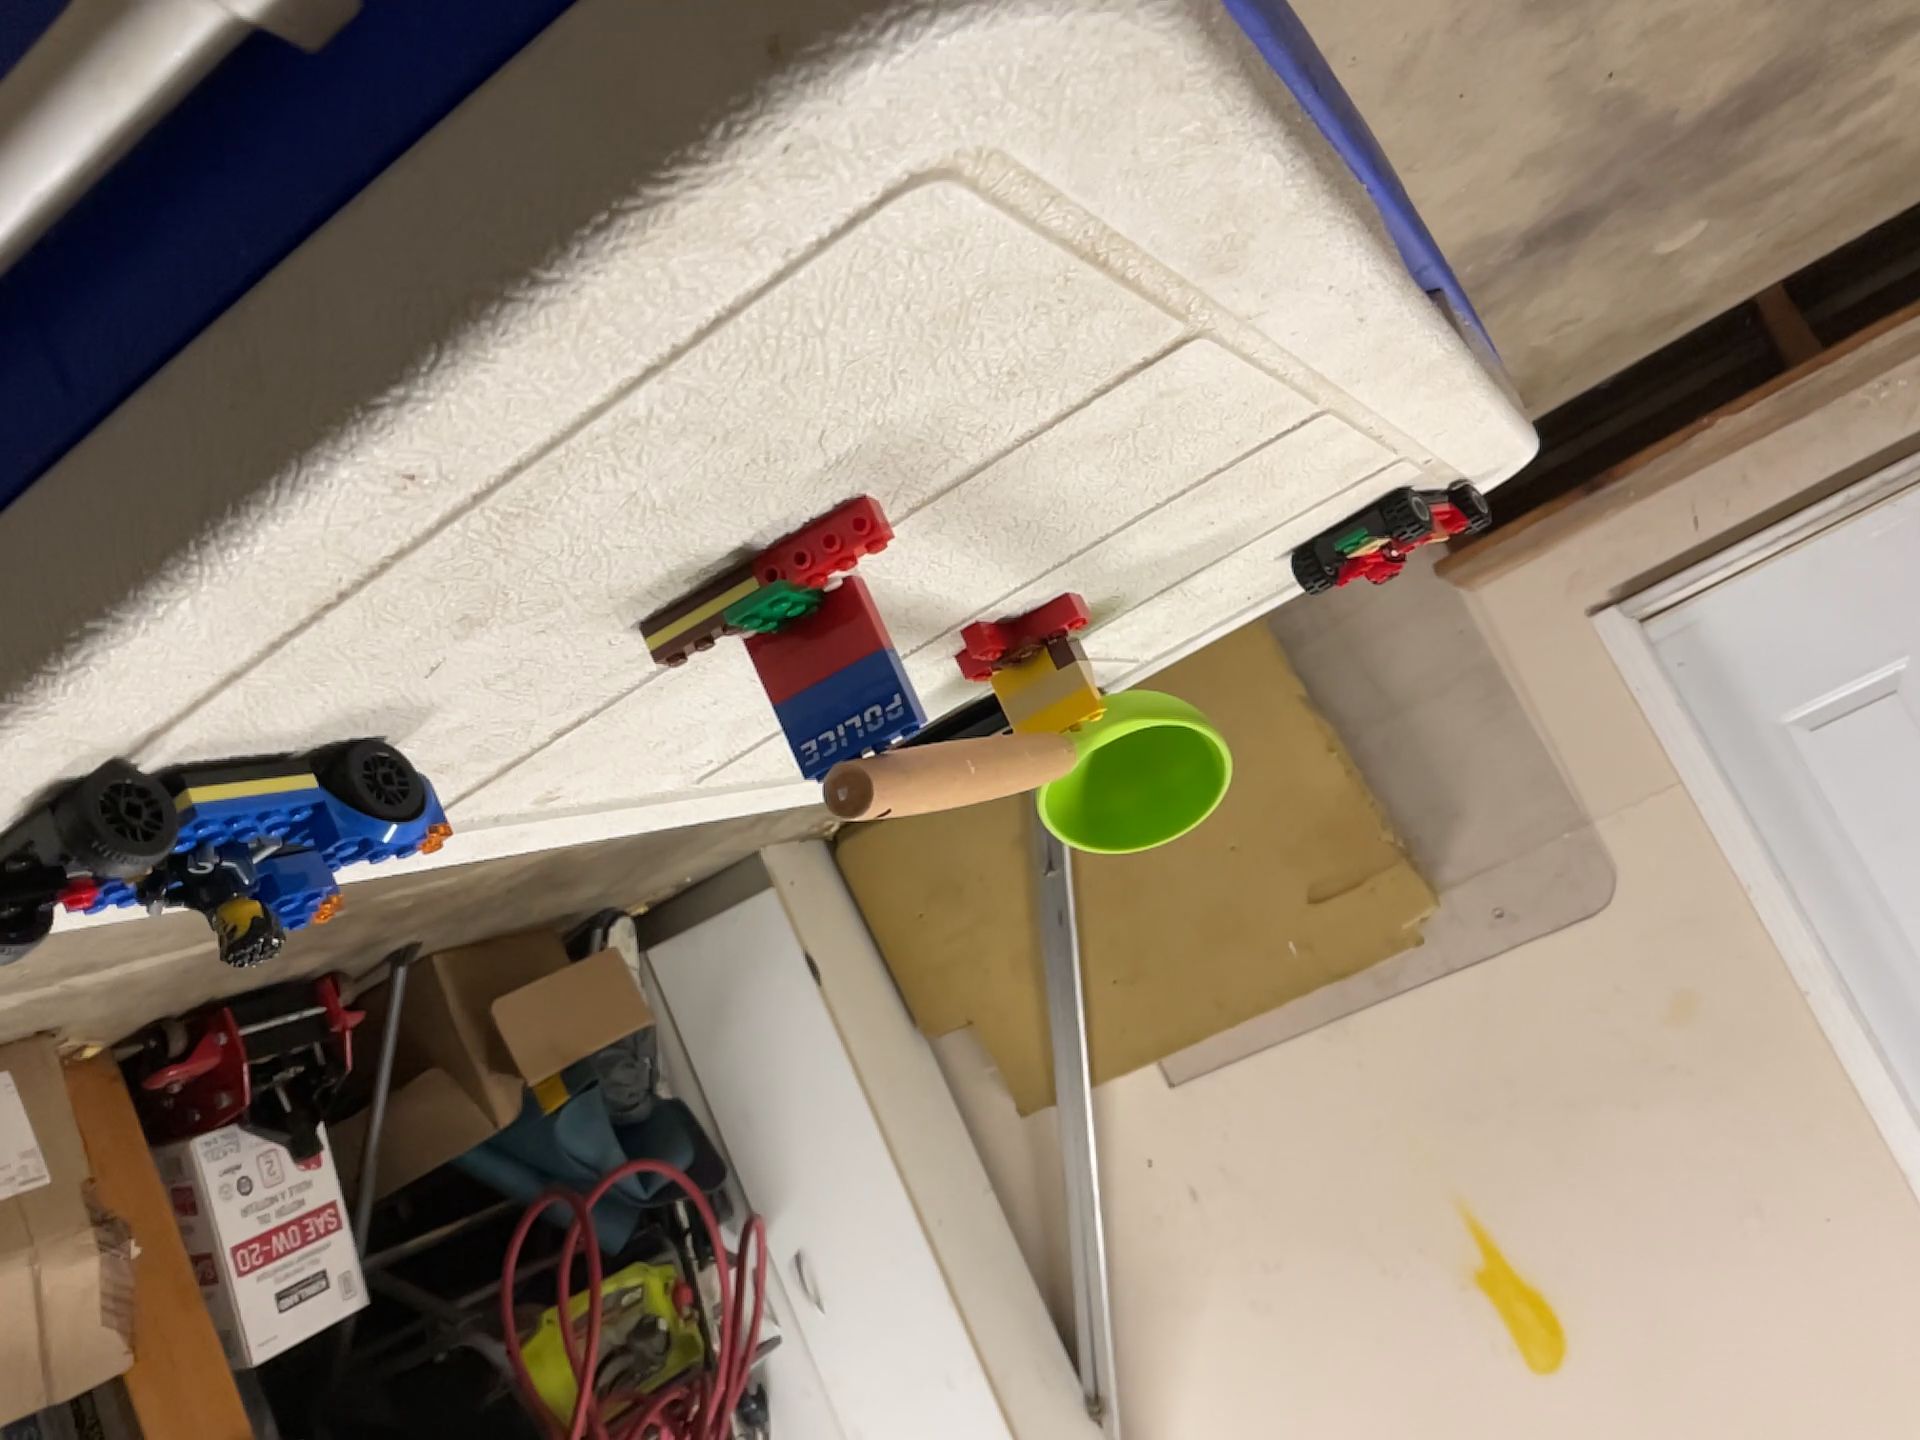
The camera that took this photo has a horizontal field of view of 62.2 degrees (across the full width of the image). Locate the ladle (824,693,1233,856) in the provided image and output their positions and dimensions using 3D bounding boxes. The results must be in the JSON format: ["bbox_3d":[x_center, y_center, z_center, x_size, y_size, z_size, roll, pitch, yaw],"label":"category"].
[{"bbox_3d":[0.029,0.023,0.509,0.078,0.062,0.320,-27,173,16],"label":"ladle"}]
